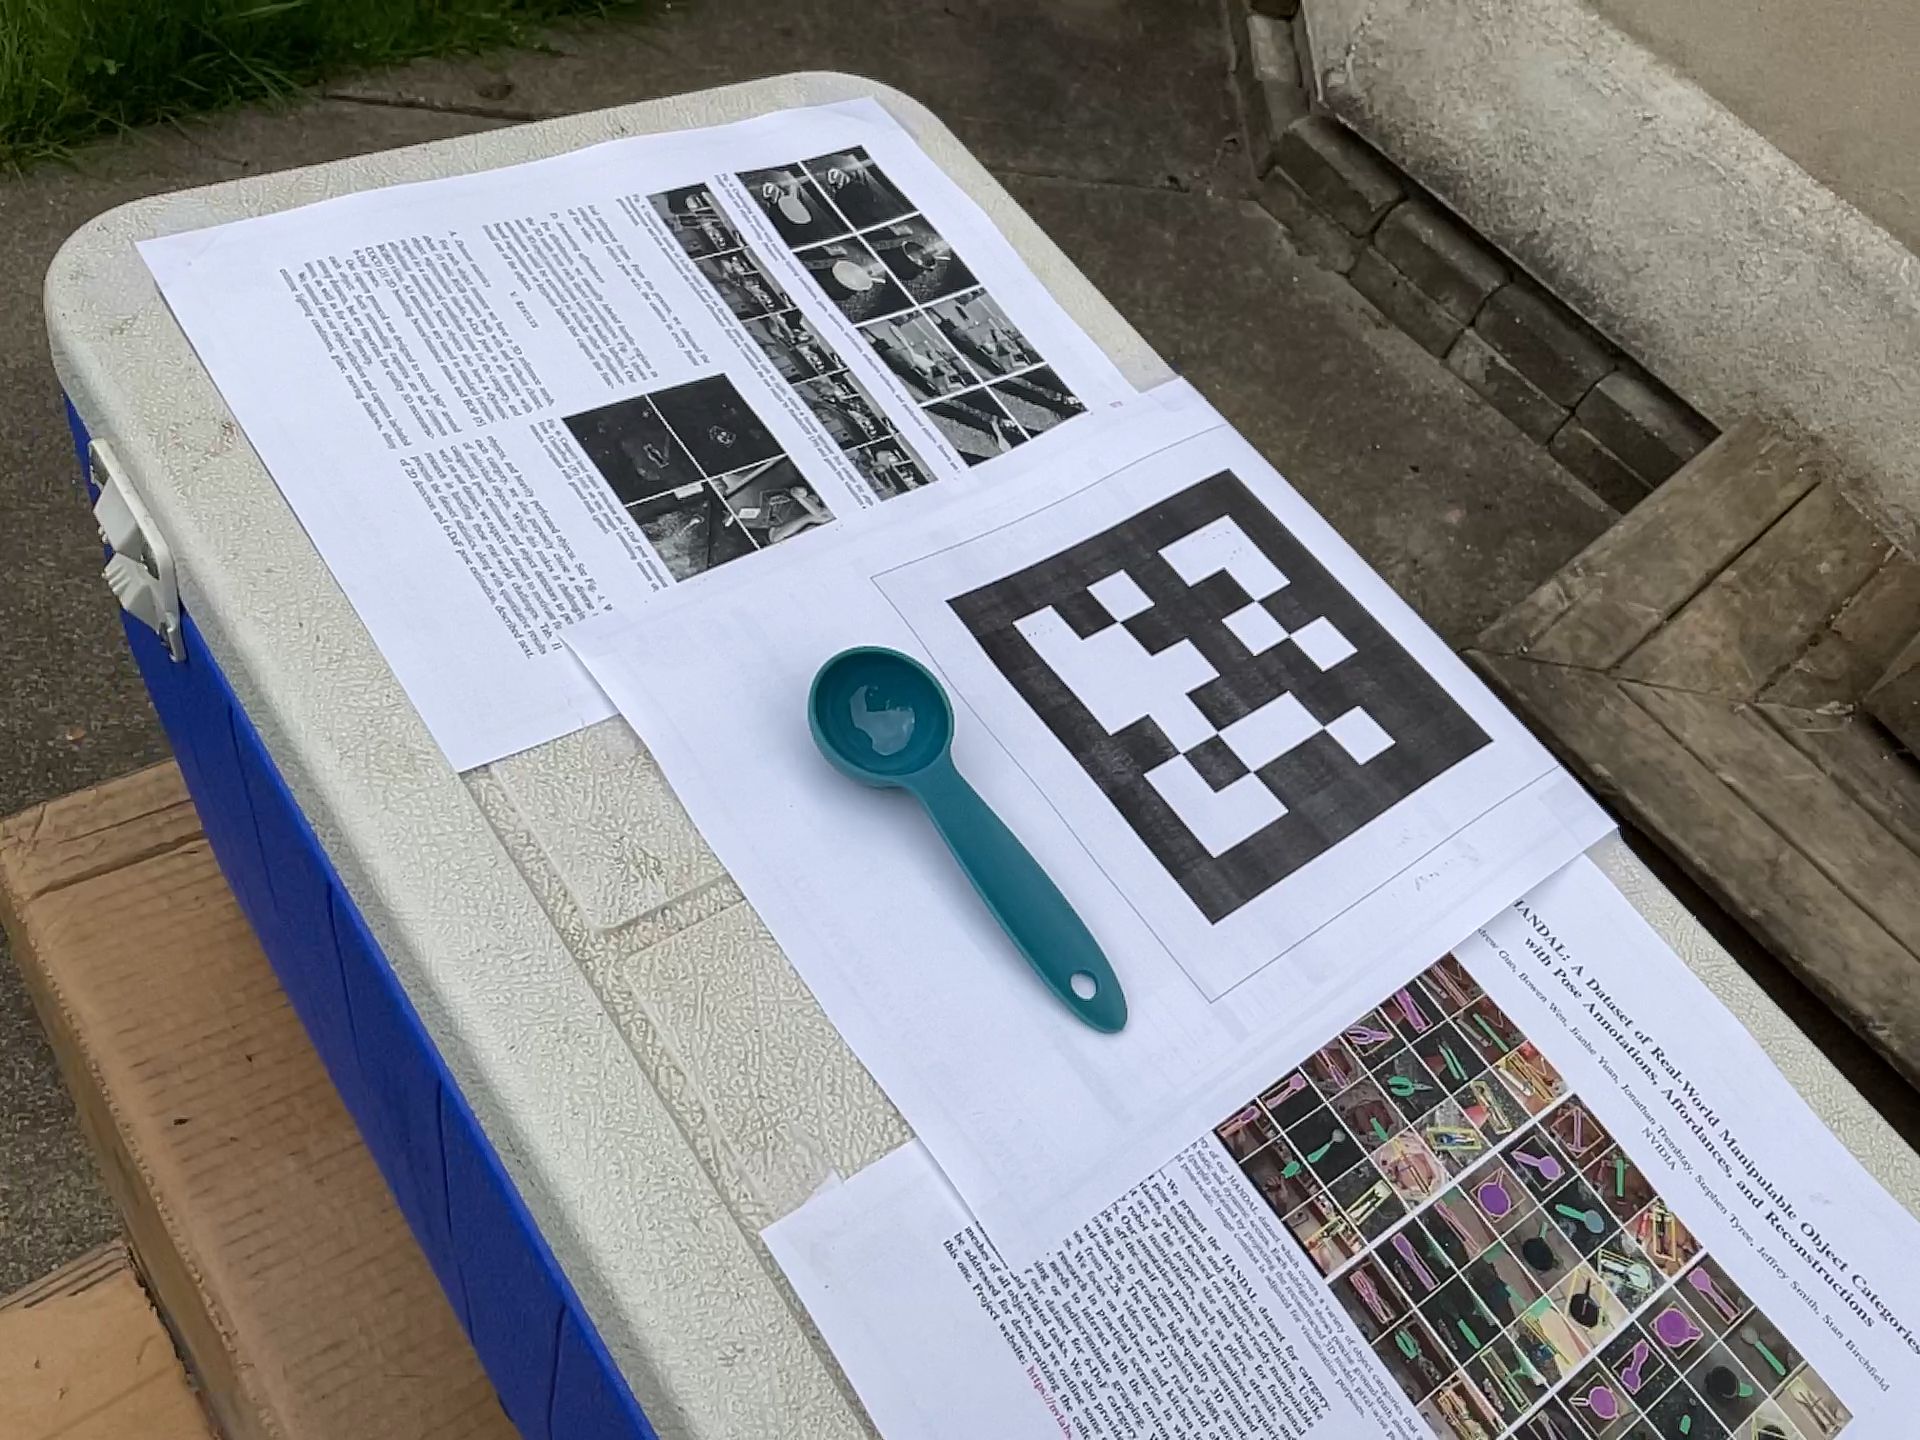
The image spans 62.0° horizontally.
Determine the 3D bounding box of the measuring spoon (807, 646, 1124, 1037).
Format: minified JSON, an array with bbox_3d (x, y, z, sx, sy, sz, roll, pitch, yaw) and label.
[{"bbox_3d":[0.001,0.036,0.443,0.042,0.021,0.129,-30,78,-33],"label":"measuring spoon"}]
